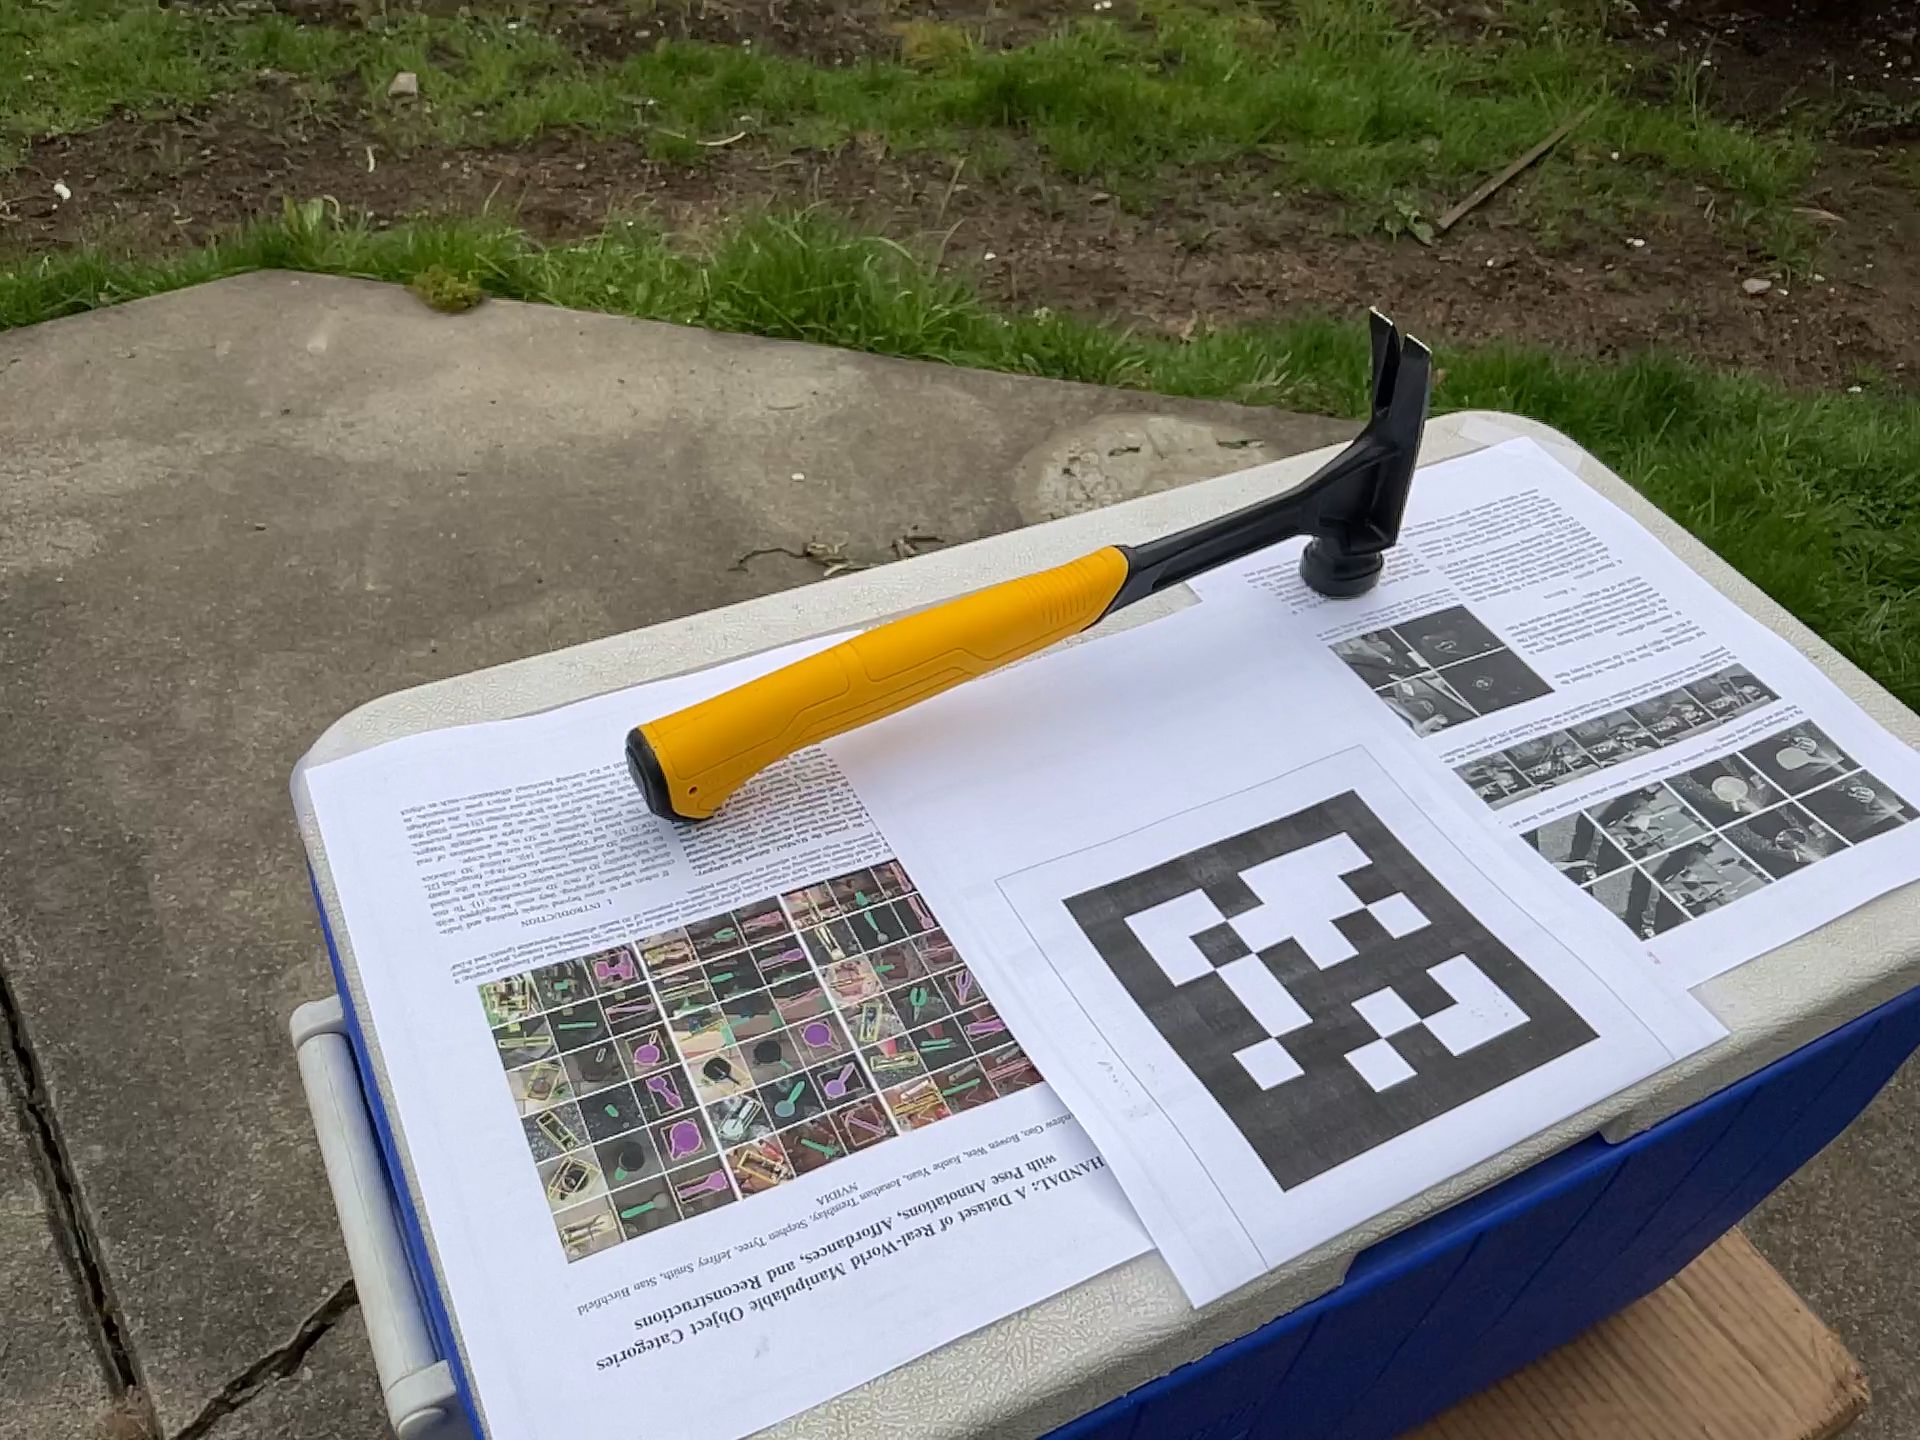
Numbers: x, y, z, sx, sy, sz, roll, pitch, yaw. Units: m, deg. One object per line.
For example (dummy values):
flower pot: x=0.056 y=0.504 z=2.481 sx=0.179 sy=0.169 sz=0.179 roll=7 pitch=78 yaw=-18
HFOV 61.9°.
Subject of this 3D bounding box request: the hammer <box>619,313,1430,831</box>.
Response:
hammer: x=0.032 y=-0.046 z=0.599 sx=0.336 sy=0.127 sz=0.034 roll=-24 pitch=52 yaw=-19
